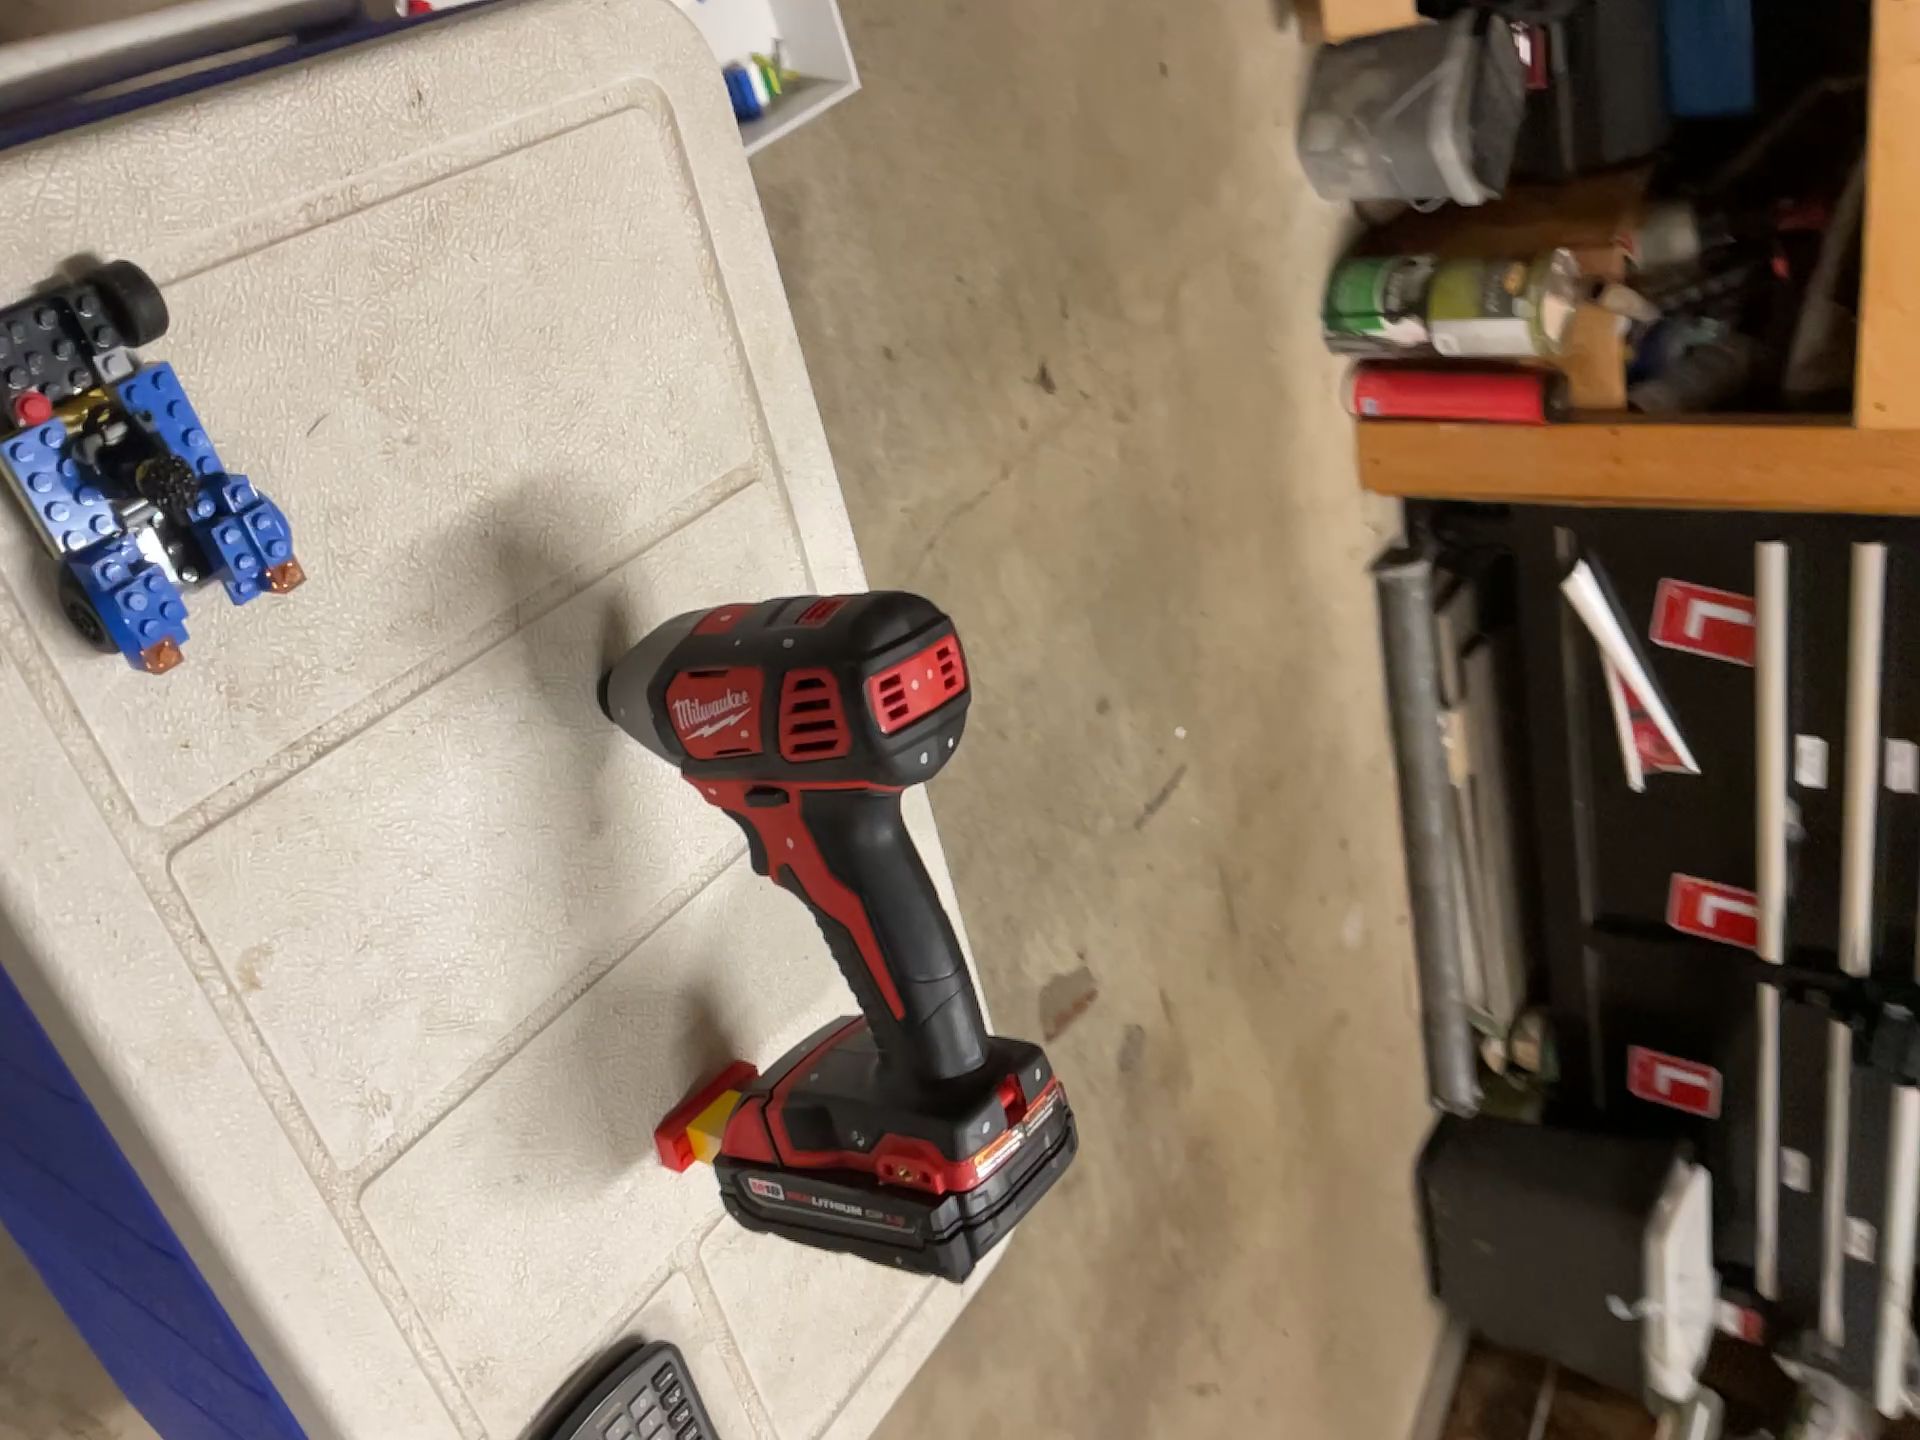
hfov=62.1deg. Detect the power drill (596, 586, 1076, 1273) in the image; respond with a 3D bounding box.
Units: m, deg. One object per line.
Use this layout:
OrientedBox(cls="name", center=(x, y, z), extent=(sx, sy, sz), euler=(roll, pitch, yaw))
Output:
OrientedBox(cls="power drill", center=(-0.048, 0.064, 0.539), extent=(0.079, 0.143, 0.219), euler=(-32, 114, -48))
